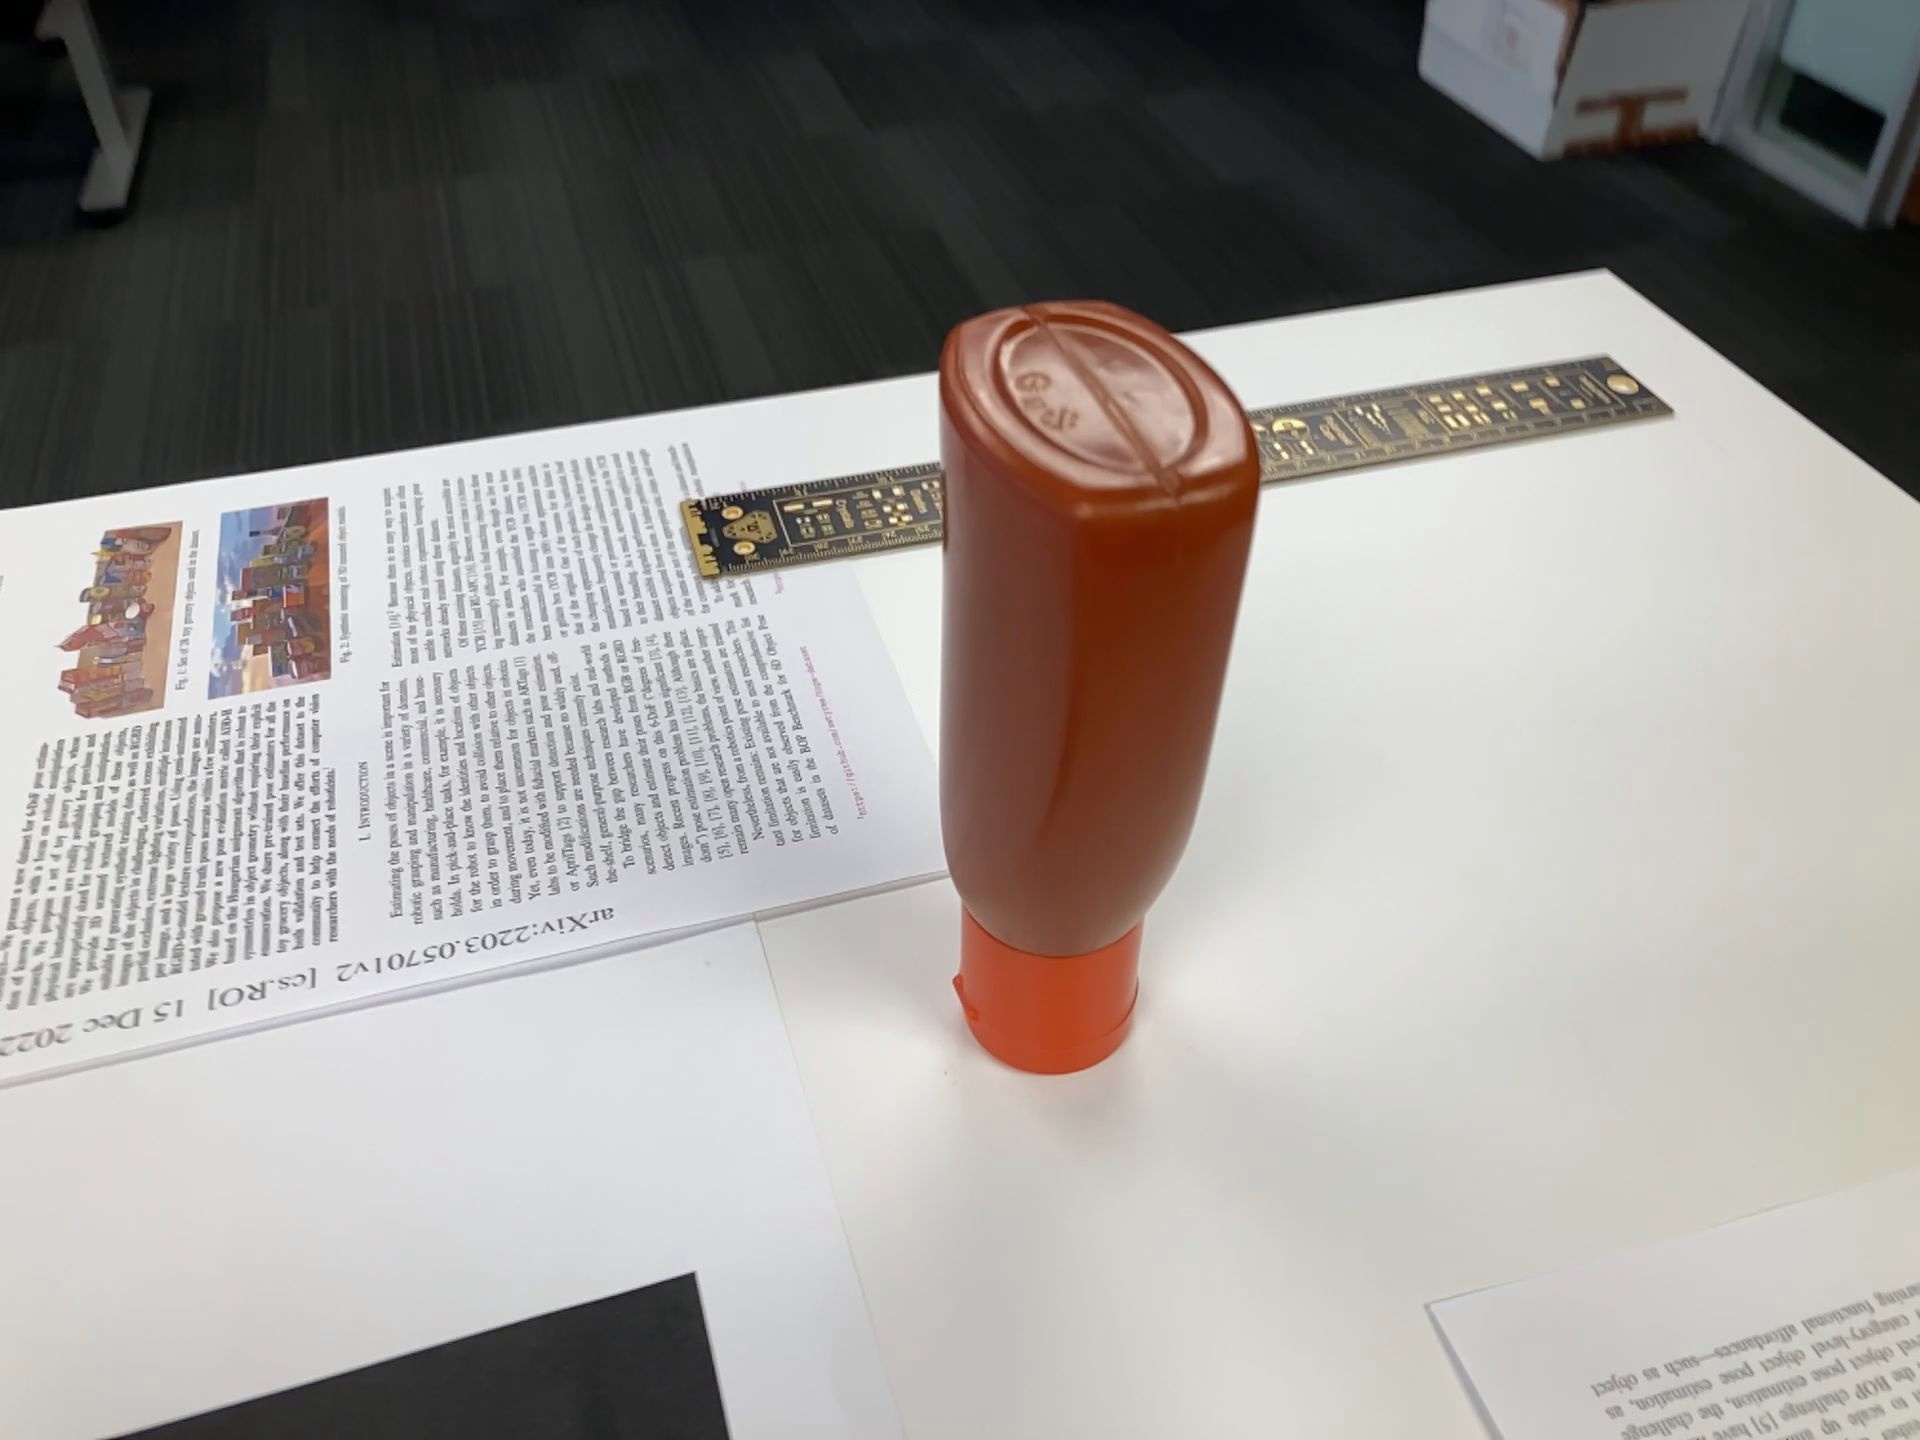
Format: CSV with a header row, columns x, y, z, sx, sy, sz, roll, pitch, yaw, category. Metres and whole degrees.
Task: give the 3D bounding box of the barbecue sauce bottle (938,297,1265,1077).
x,y,z,sx,sy,sz,roll,pitch,yaw,category
0.019,0.005,0.284,0.043,0.148,0.065,-12,43,-15,barbecue sauce bottle
